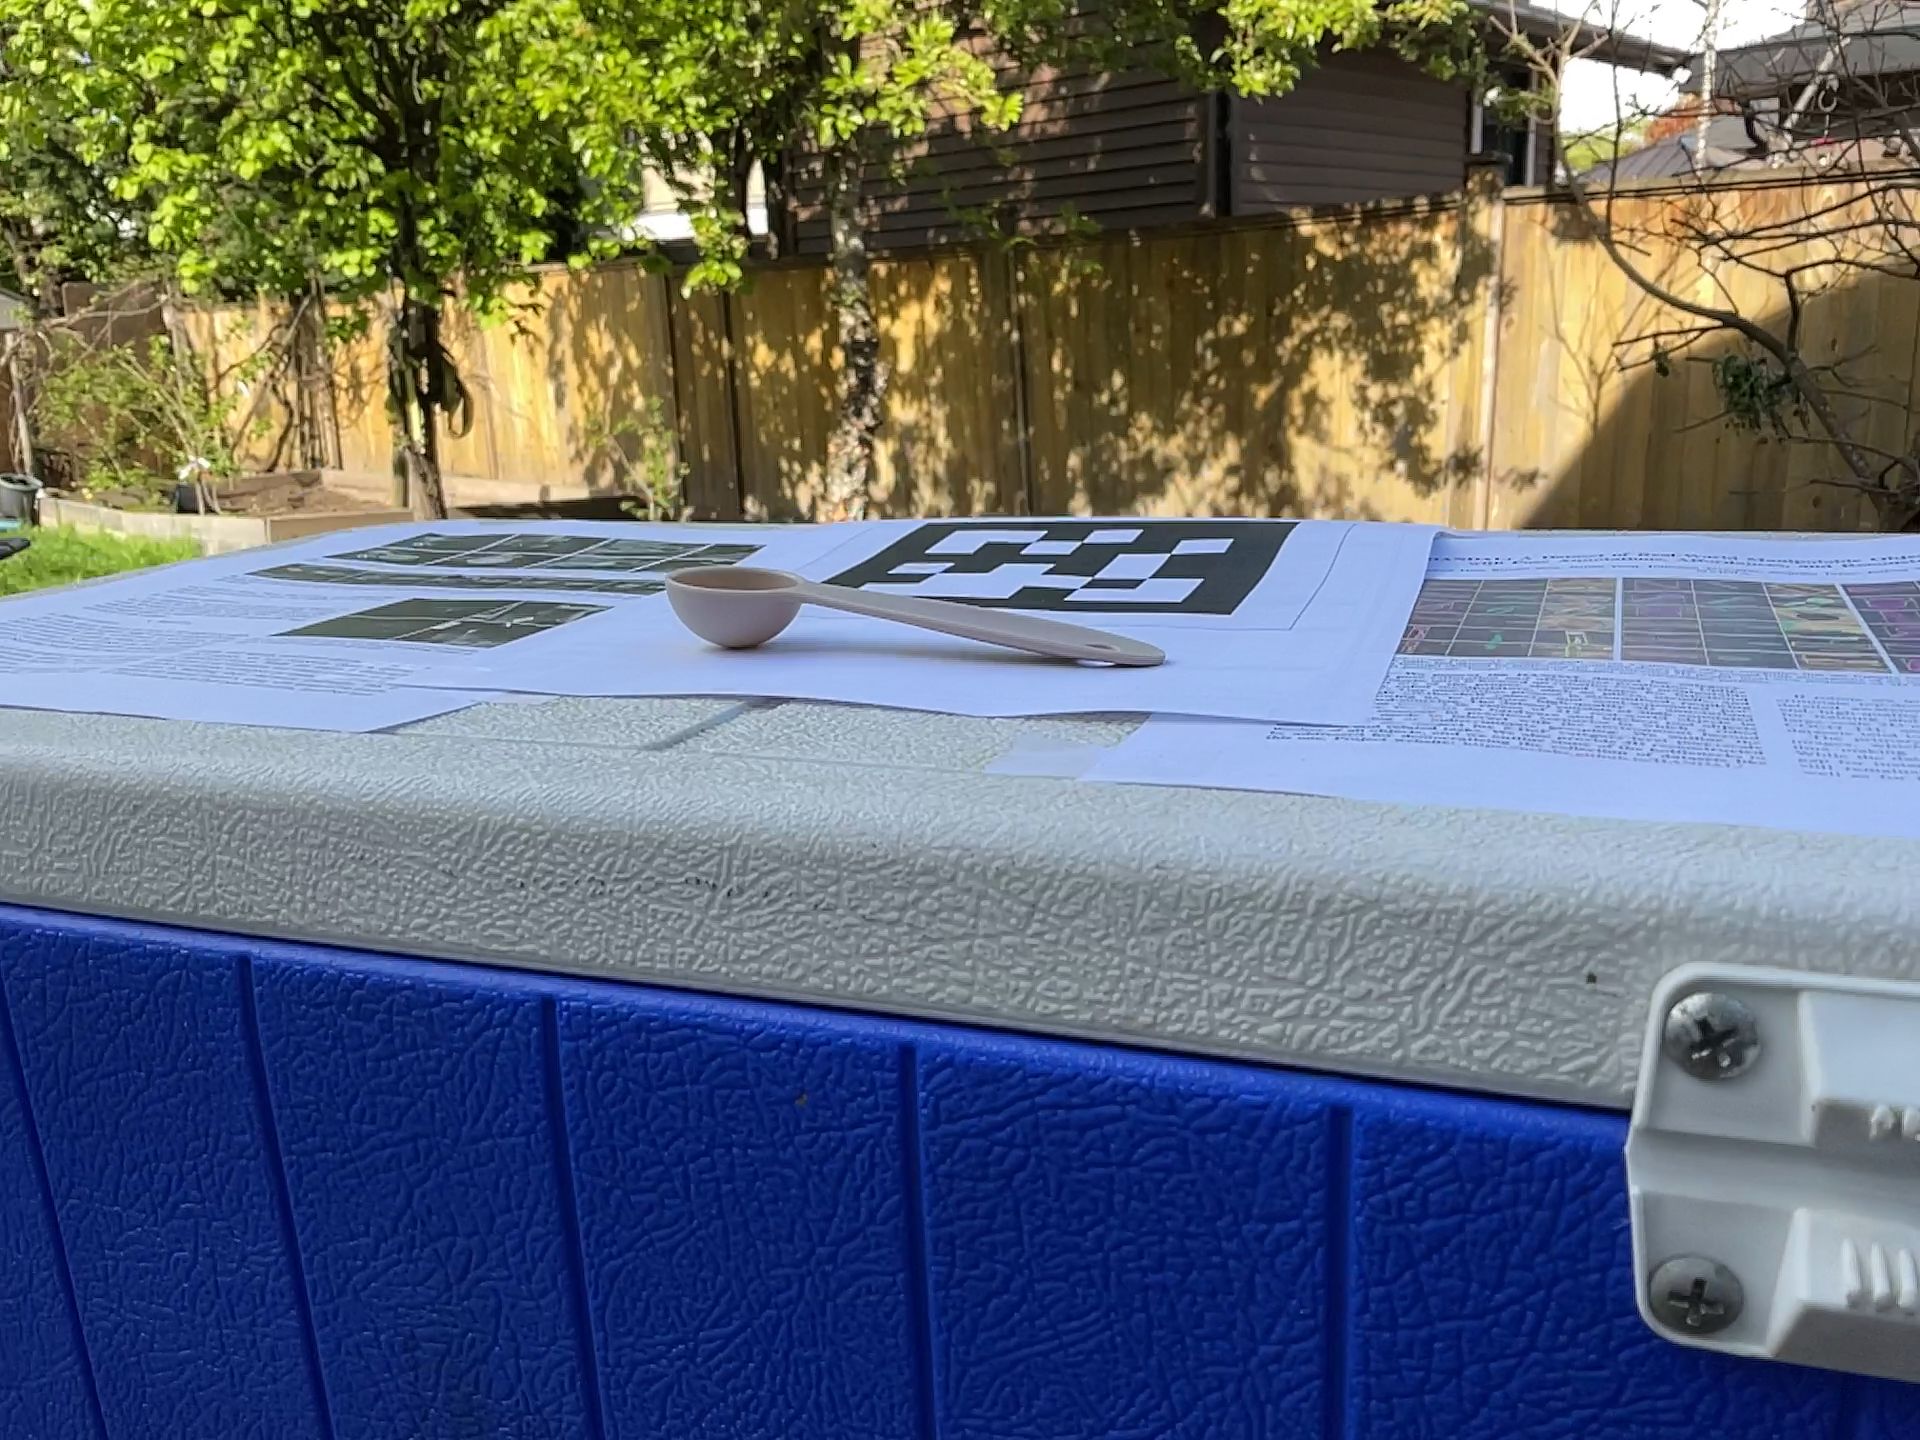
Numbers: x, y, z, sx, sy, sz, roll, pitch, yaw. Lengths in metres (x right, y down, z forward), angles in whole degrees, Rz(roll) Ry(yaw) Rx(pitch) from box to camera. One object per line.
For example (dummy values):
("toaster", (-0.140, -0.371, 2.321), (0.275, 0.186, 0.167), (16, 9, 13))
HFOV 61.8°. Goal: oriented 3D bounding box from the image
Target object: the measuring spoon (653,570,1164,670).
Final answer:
("measuring spoon", (-0.014, -0.018, 0.370), (0.124, 0.018, 0.034), (10, 16, 18))
